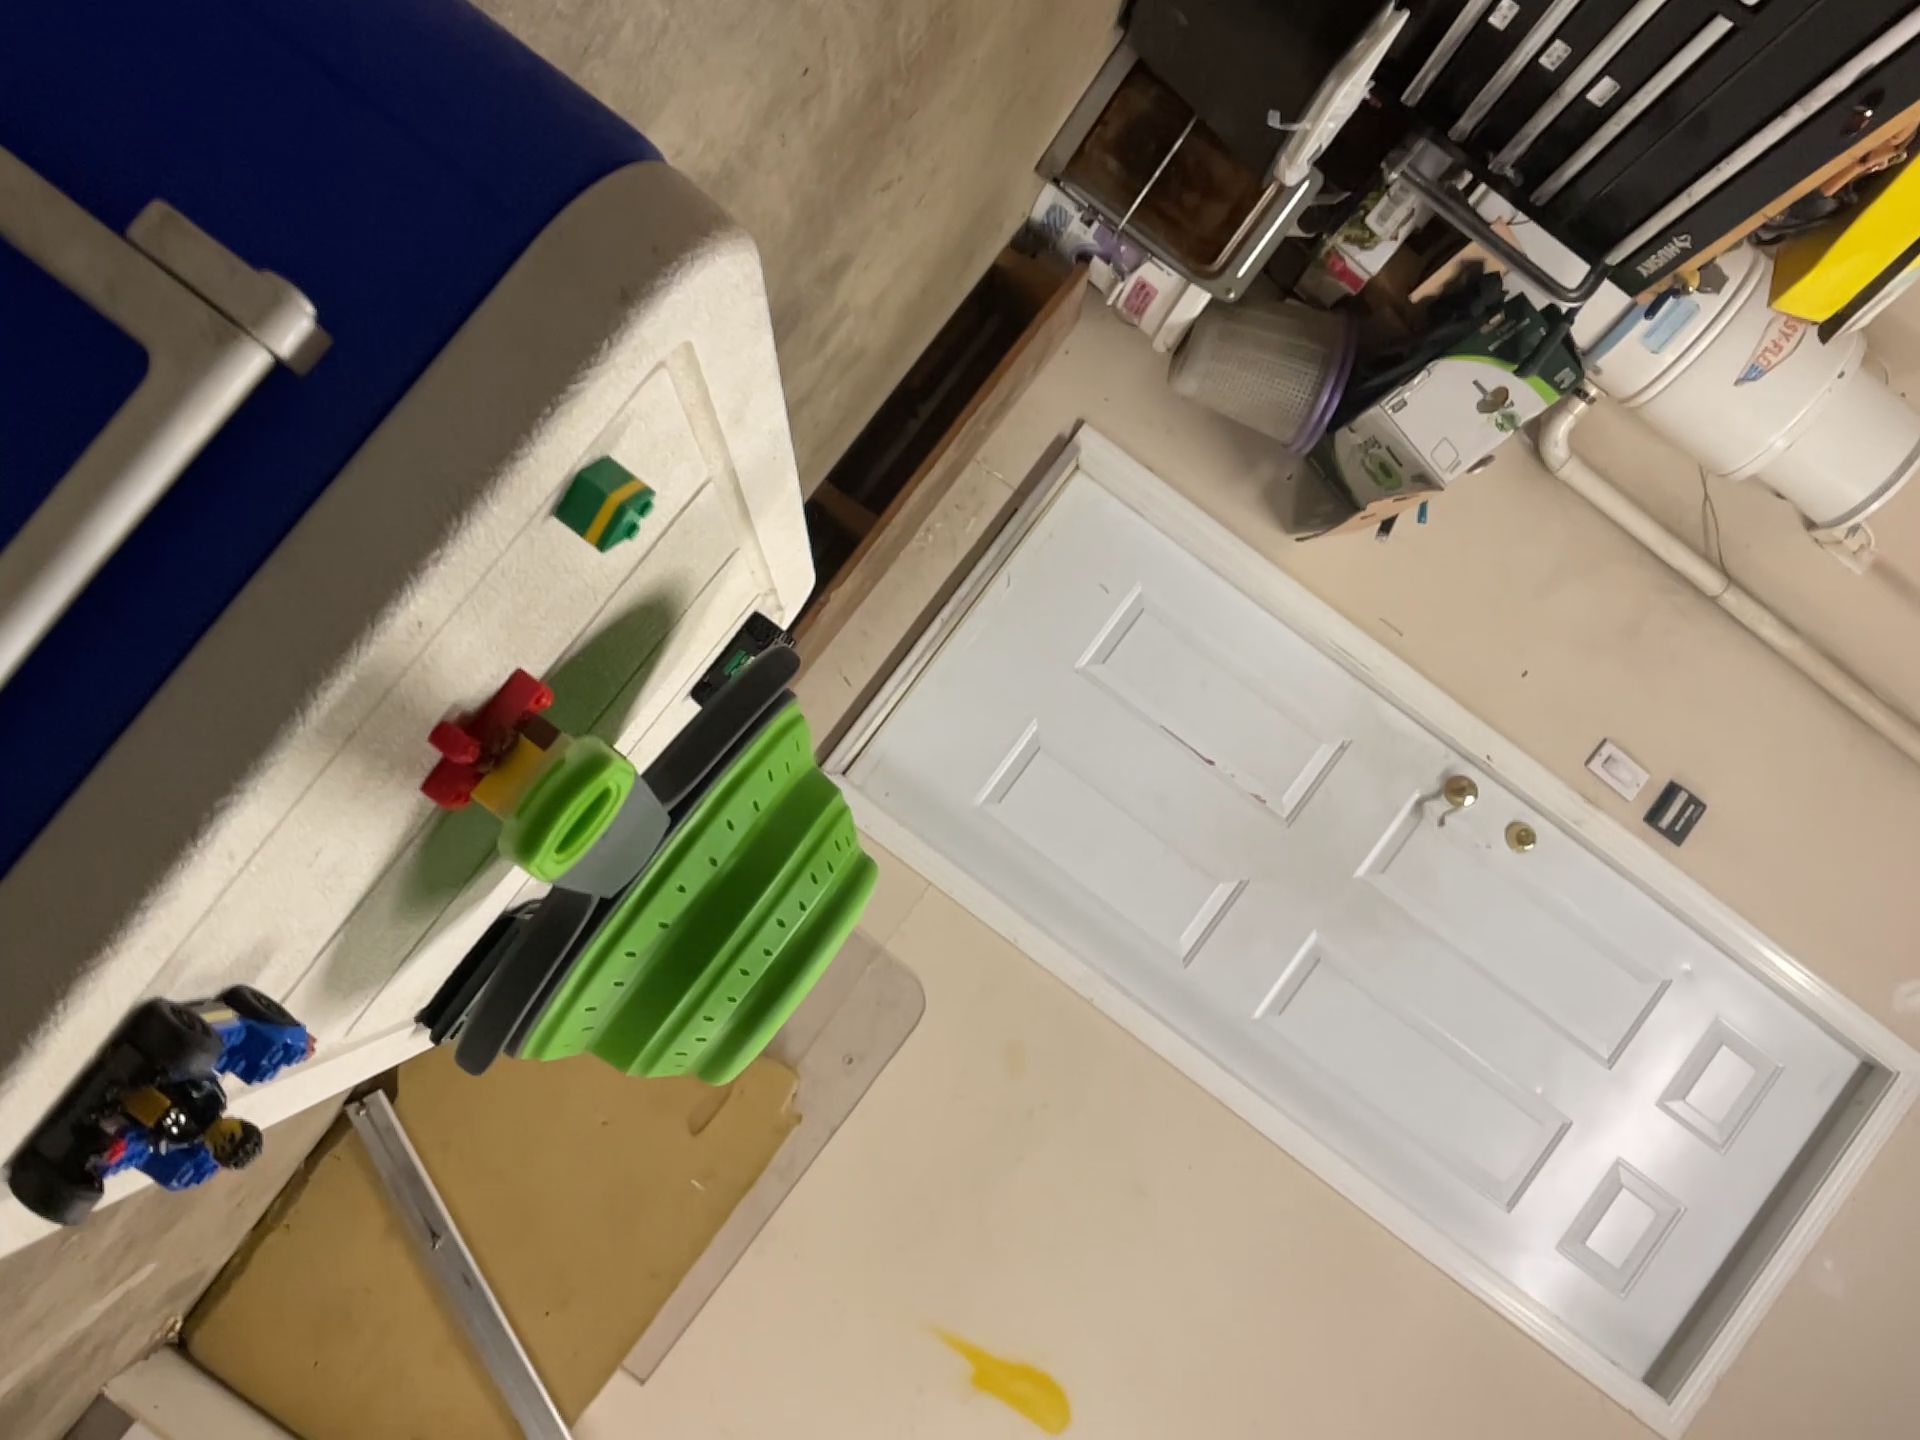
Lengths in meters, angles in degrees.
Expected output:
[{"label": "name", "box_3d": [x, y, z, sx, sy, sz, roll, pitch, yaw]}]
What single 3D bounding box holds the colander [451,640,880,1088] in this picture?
[{"label": "colander", "box_3d": [-0.088, 0.065, 0.550, 0.204, 0.094, 0.397, -53, -179, -11]}]
